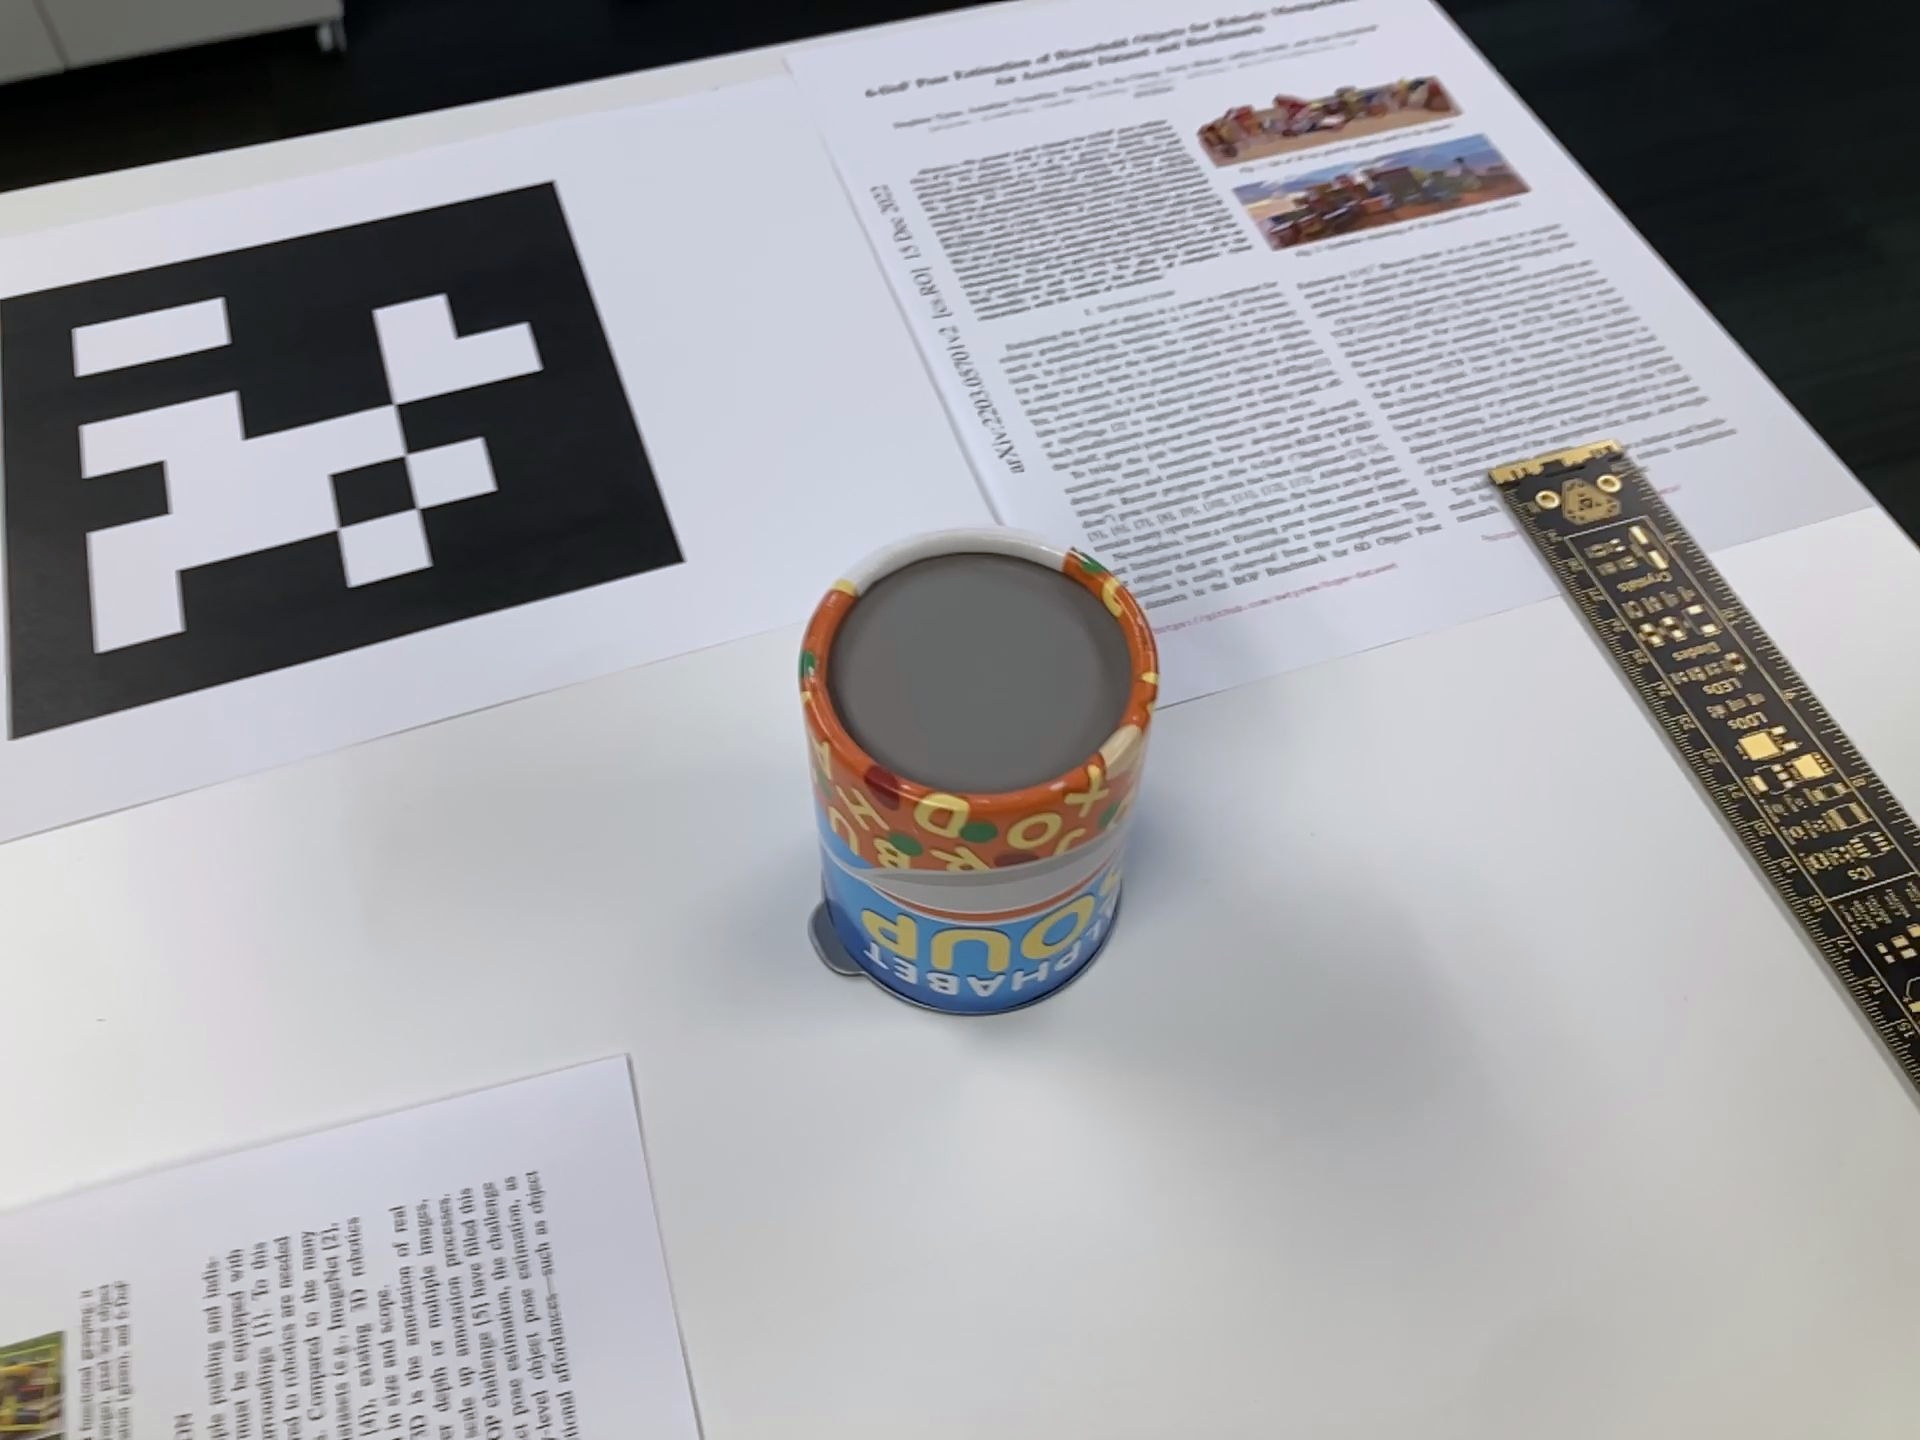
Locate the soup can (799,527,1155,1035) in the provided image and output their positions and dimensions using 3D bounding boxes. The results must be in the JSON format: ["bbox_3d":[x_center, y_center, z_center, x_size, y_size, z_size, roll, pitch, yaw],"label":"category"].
[{"bbox_3d":[0.004,0.014,0.321,0.071,0.084,0.071,0,56,0],"label":"soup can"}]
